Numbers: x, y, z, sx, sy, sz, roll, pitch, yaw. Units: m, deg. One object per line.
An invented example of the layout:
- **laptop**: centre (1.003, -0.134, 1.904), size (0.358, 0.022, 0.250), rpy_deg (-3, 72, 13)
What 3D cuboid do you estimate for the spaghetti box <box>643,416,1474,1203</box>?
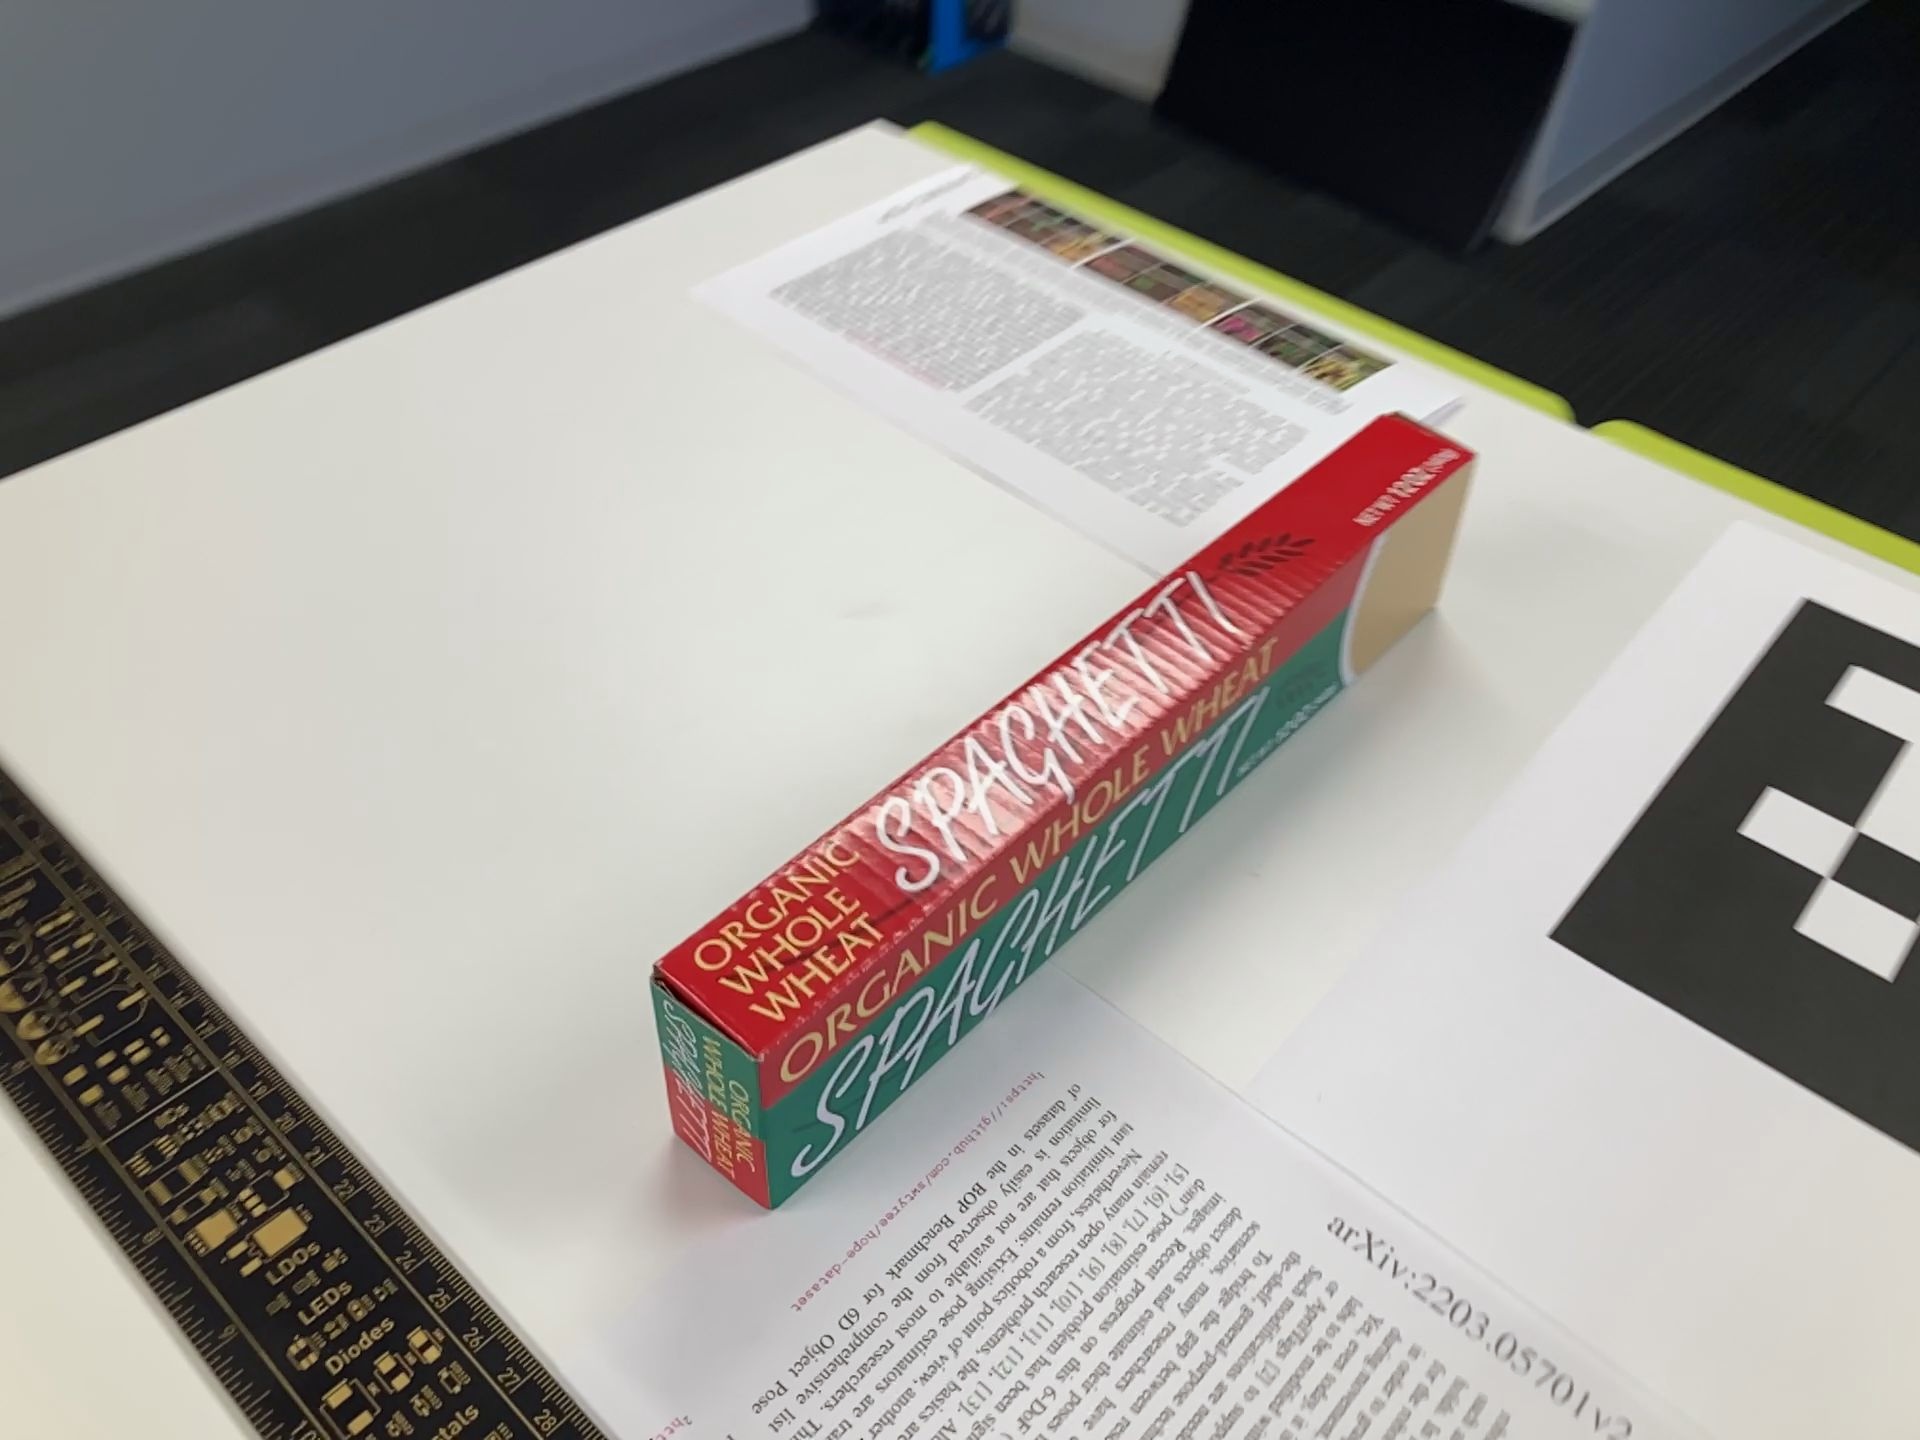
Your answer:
- **spaghetti box**: centre (0.037, 0.006, 0.352), size (0.028, 0.050, 0.250), rpy_deg (31, 50, 29)
